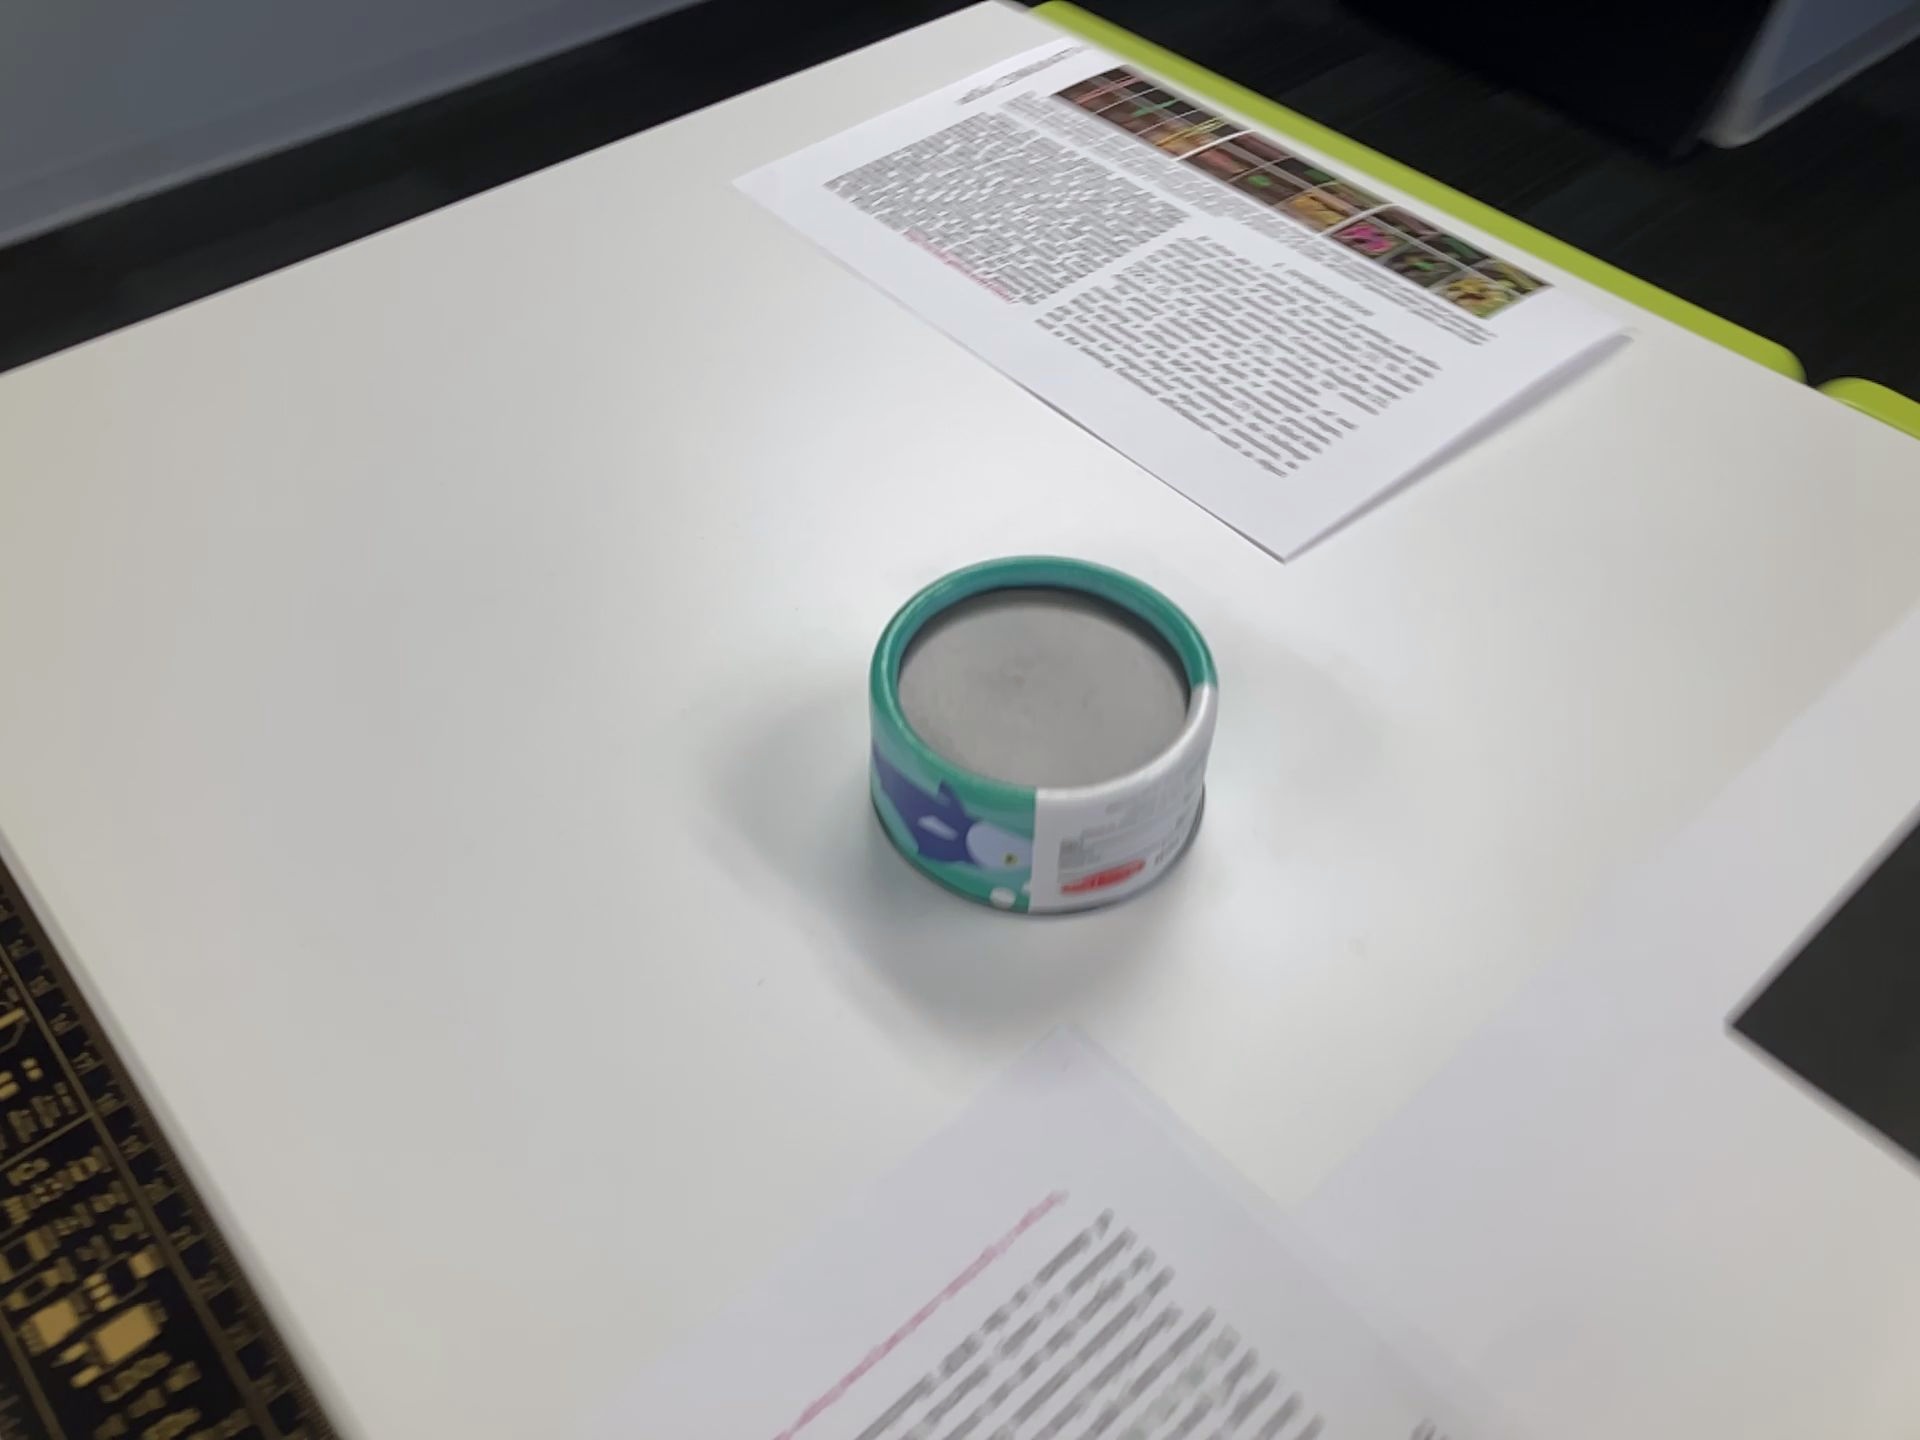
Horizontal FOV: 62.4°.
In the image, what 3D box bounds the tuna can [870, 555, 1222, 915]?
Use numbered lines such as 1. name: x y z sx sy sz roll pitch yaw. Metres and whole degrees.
1. tuna can: 0.014 0.000 0.303 0.071 0.033 0.071 1 46 -1
